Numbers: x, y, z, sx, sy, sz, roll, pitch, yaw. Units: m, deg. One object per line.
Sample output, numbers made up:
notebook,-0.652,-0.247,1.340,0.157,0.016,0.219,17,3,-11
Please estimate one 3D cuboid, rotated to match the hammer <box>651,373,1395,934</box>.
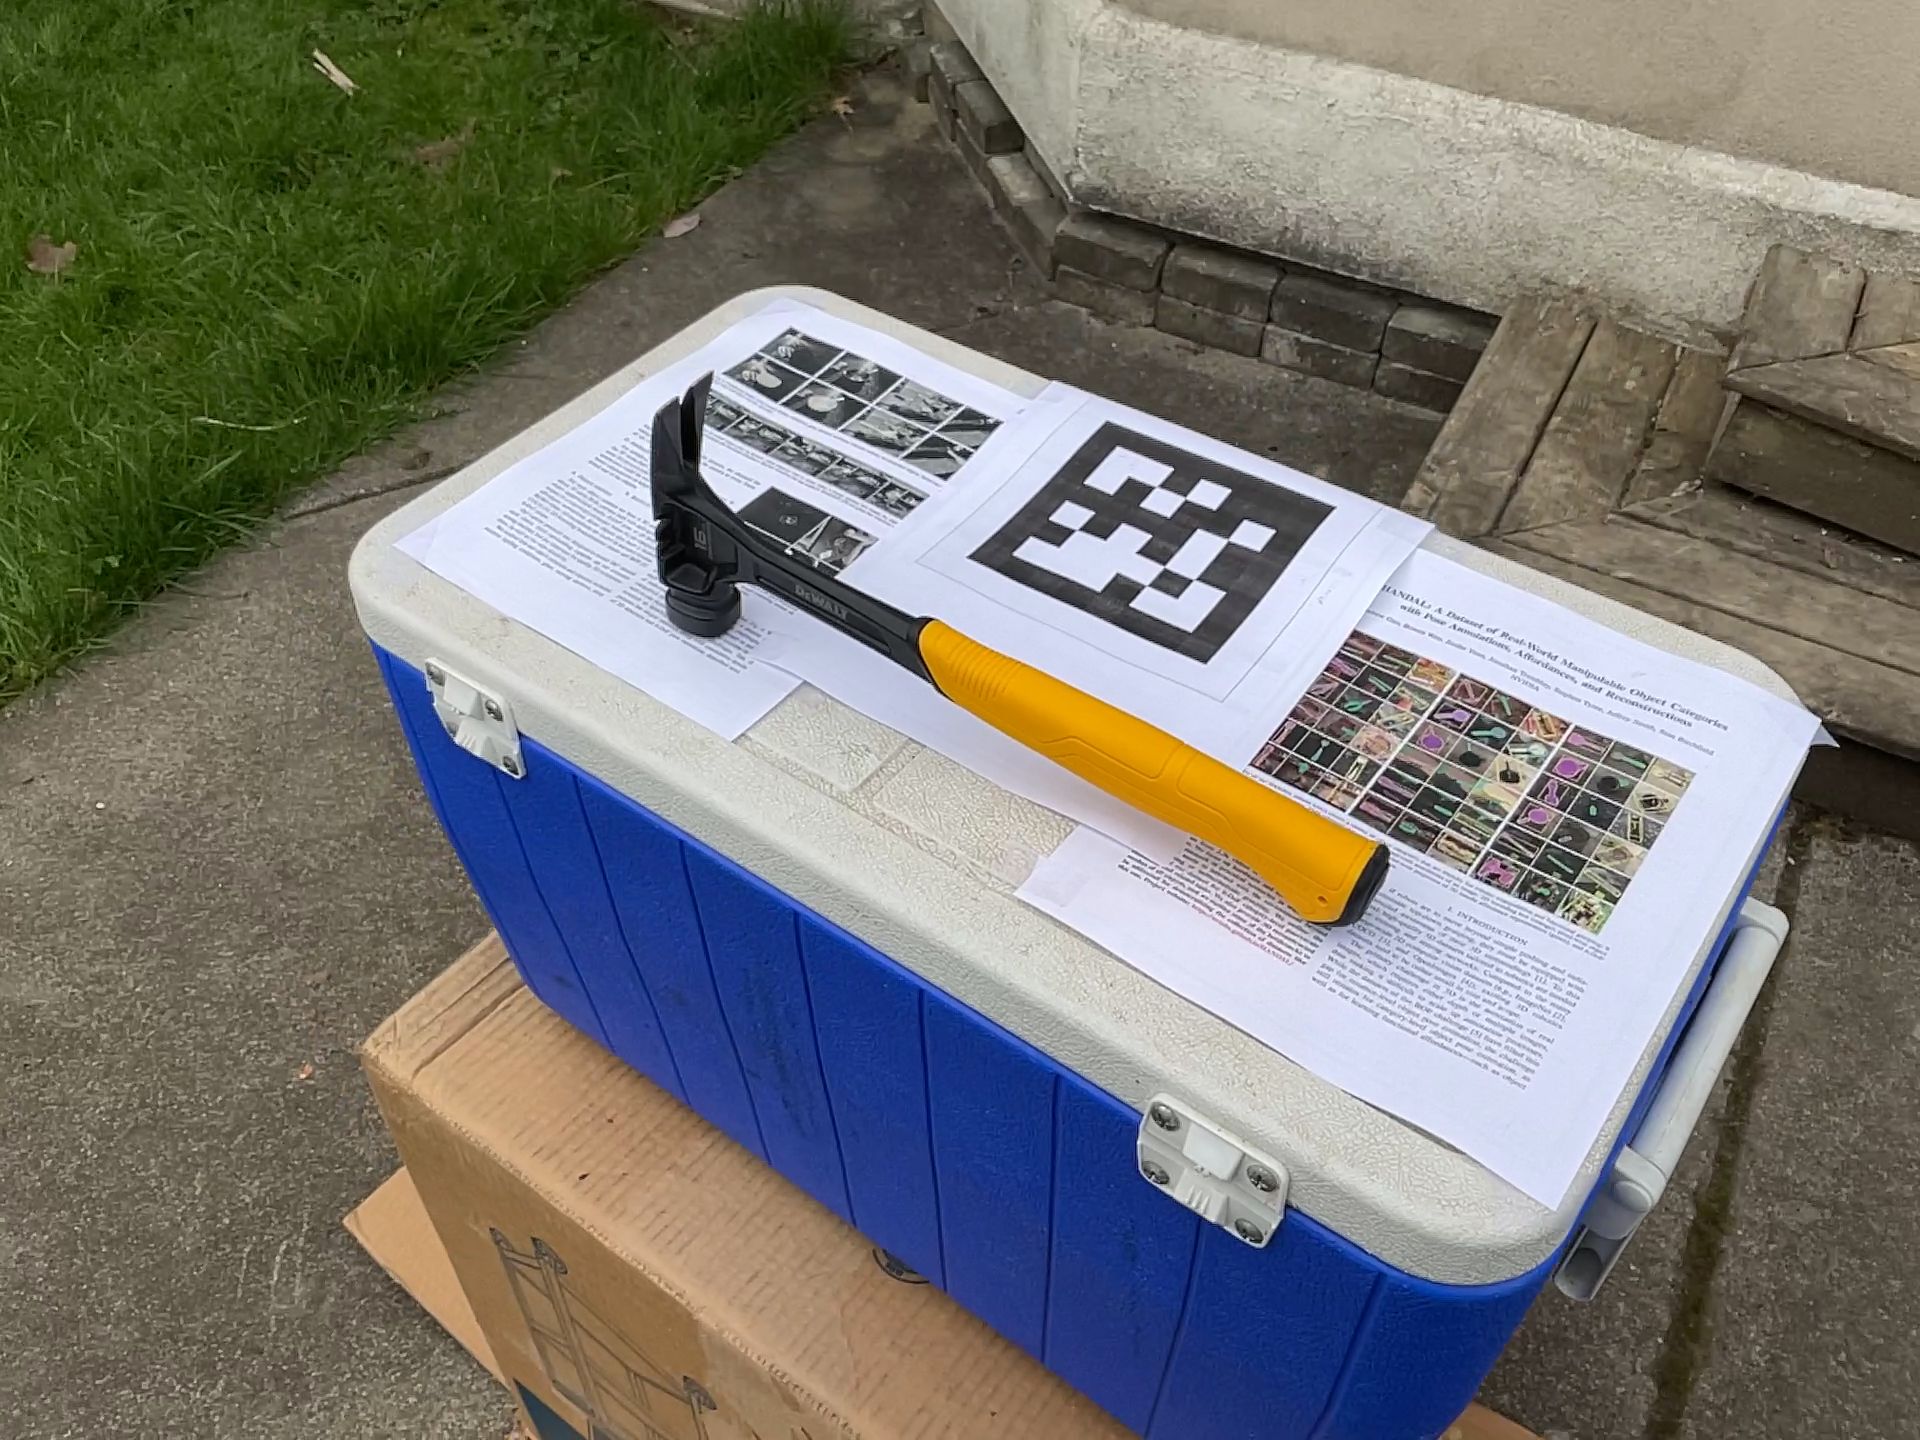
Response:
hammer,0.015,-0.018,0.632,0.337,0.127,0.034,29,52,19
